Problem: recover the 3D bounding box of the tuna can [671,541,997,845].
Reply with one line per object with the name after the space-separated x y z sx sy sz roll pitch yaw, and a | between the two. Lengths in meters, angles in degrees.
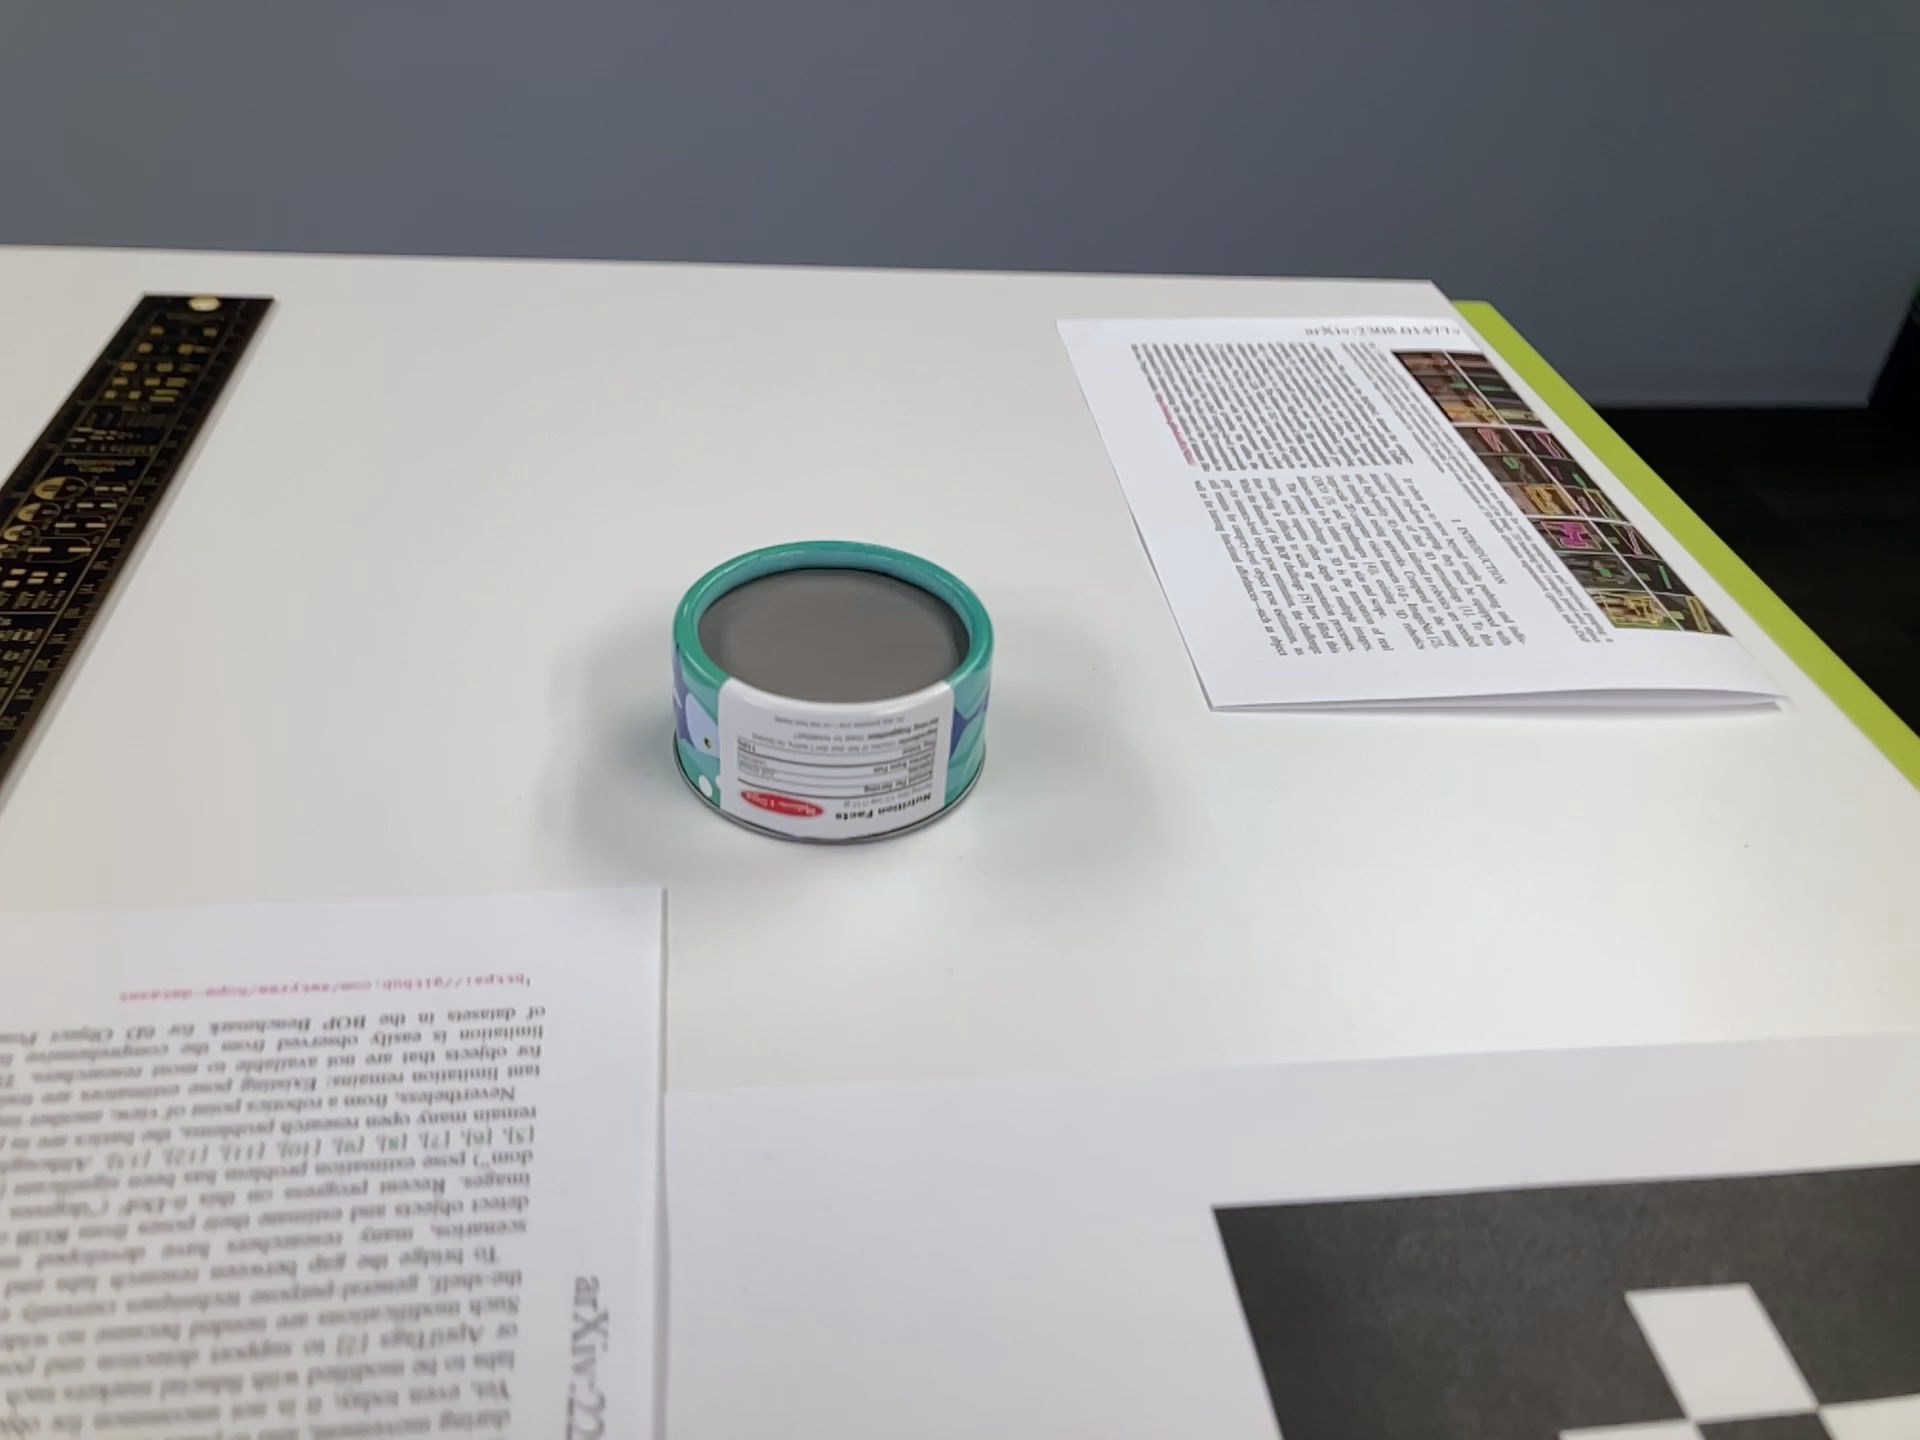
-0.026 -0.009 0.330 0.071 0.033 0.071 5 35 -3 | tuna can
